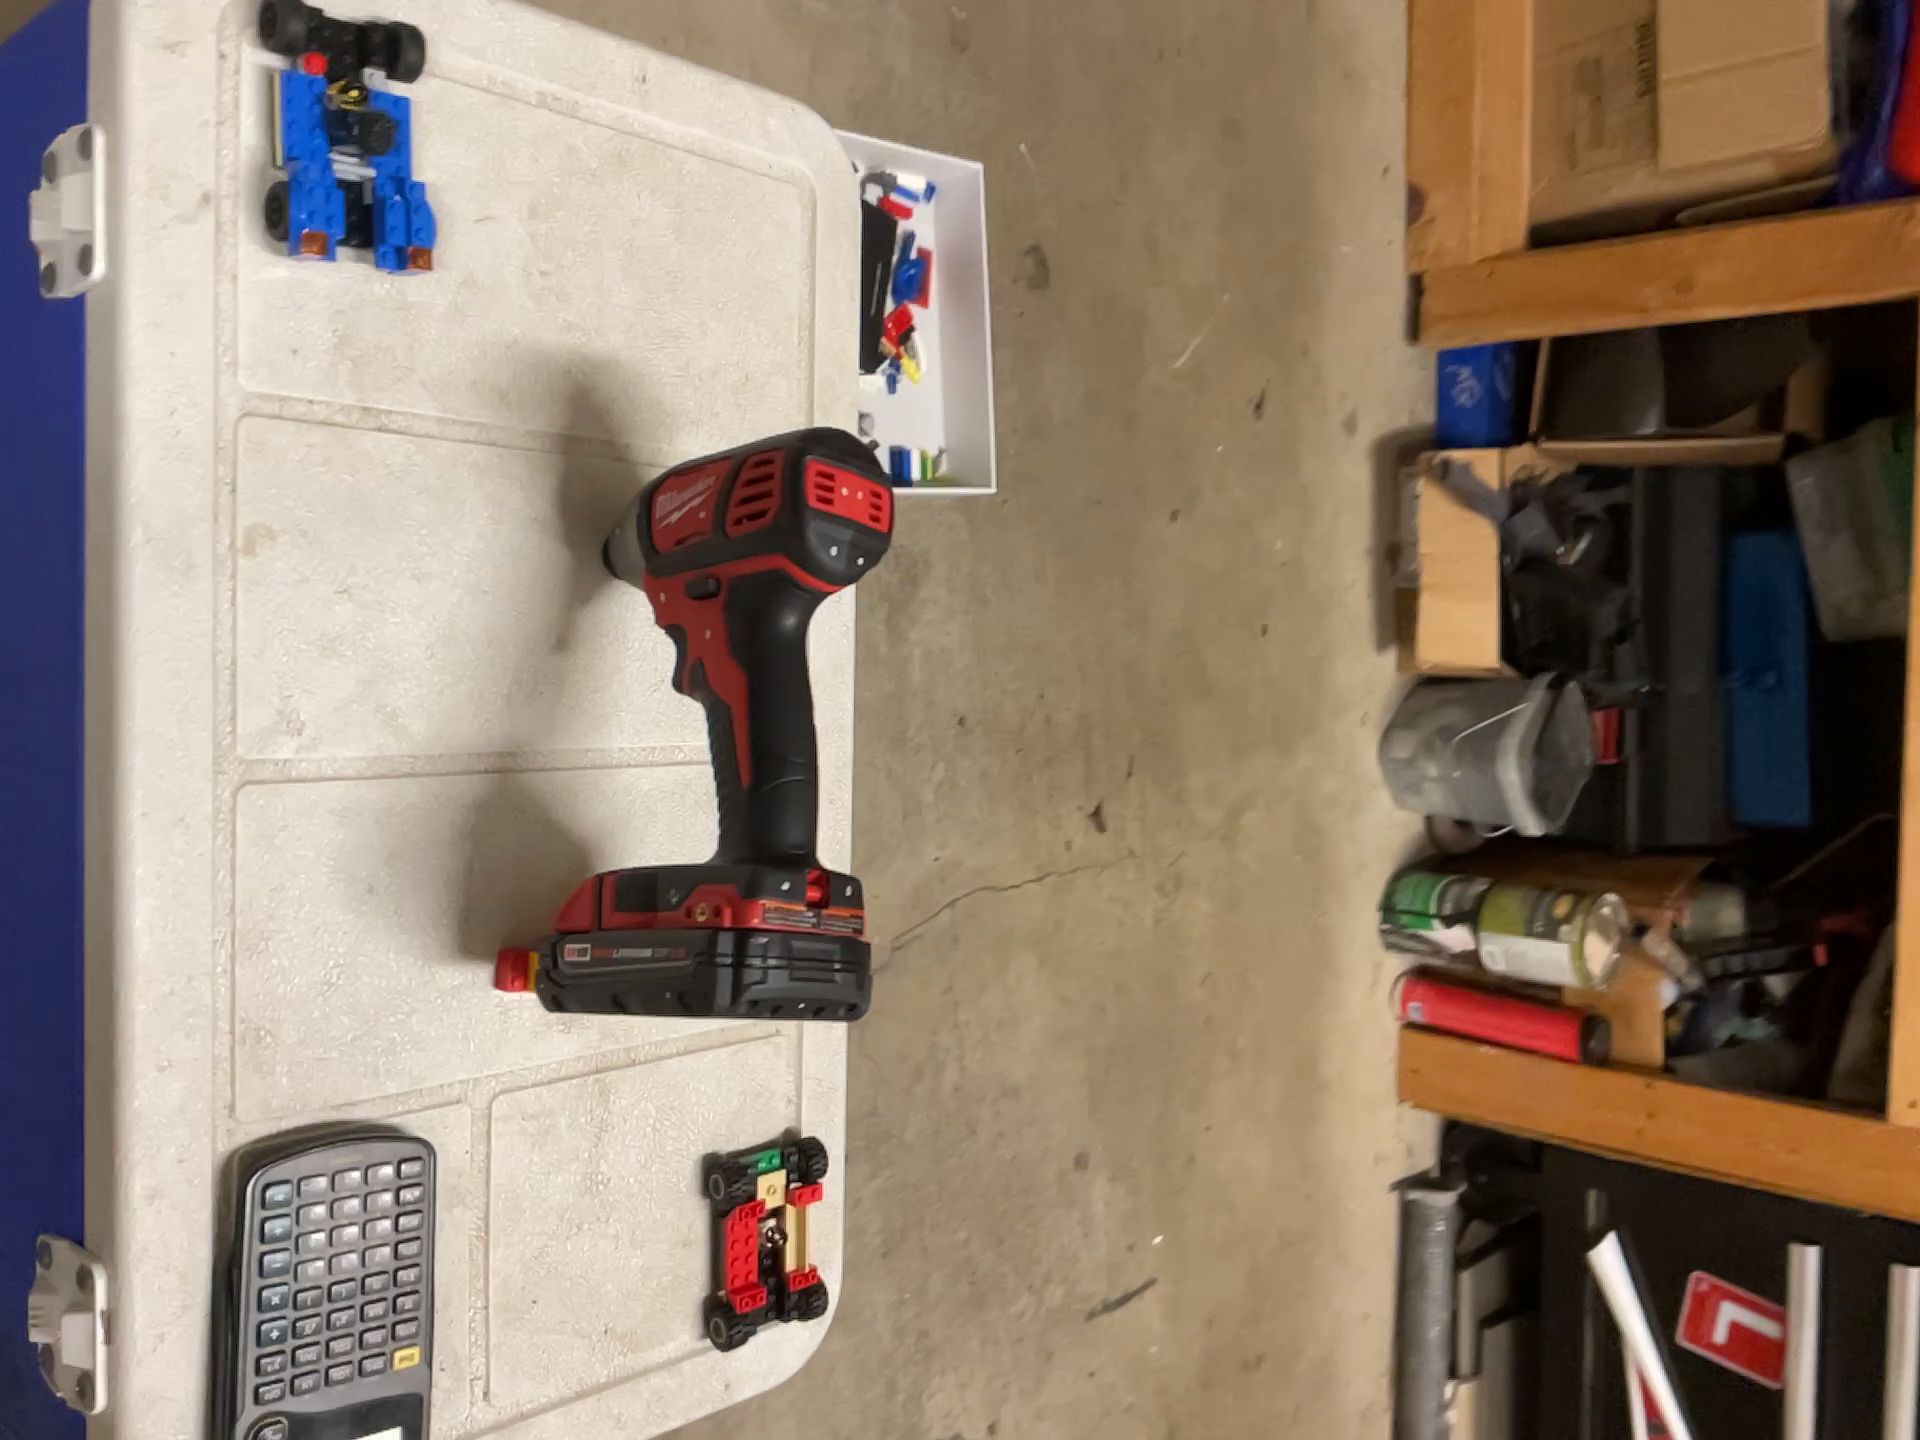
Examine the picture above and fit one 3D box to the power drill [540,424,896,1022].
[{"bbox_3d":[-0.095,0.003,0.616,0.078,0.143,0.220,14,75,-48],"label":"power drill"}]
